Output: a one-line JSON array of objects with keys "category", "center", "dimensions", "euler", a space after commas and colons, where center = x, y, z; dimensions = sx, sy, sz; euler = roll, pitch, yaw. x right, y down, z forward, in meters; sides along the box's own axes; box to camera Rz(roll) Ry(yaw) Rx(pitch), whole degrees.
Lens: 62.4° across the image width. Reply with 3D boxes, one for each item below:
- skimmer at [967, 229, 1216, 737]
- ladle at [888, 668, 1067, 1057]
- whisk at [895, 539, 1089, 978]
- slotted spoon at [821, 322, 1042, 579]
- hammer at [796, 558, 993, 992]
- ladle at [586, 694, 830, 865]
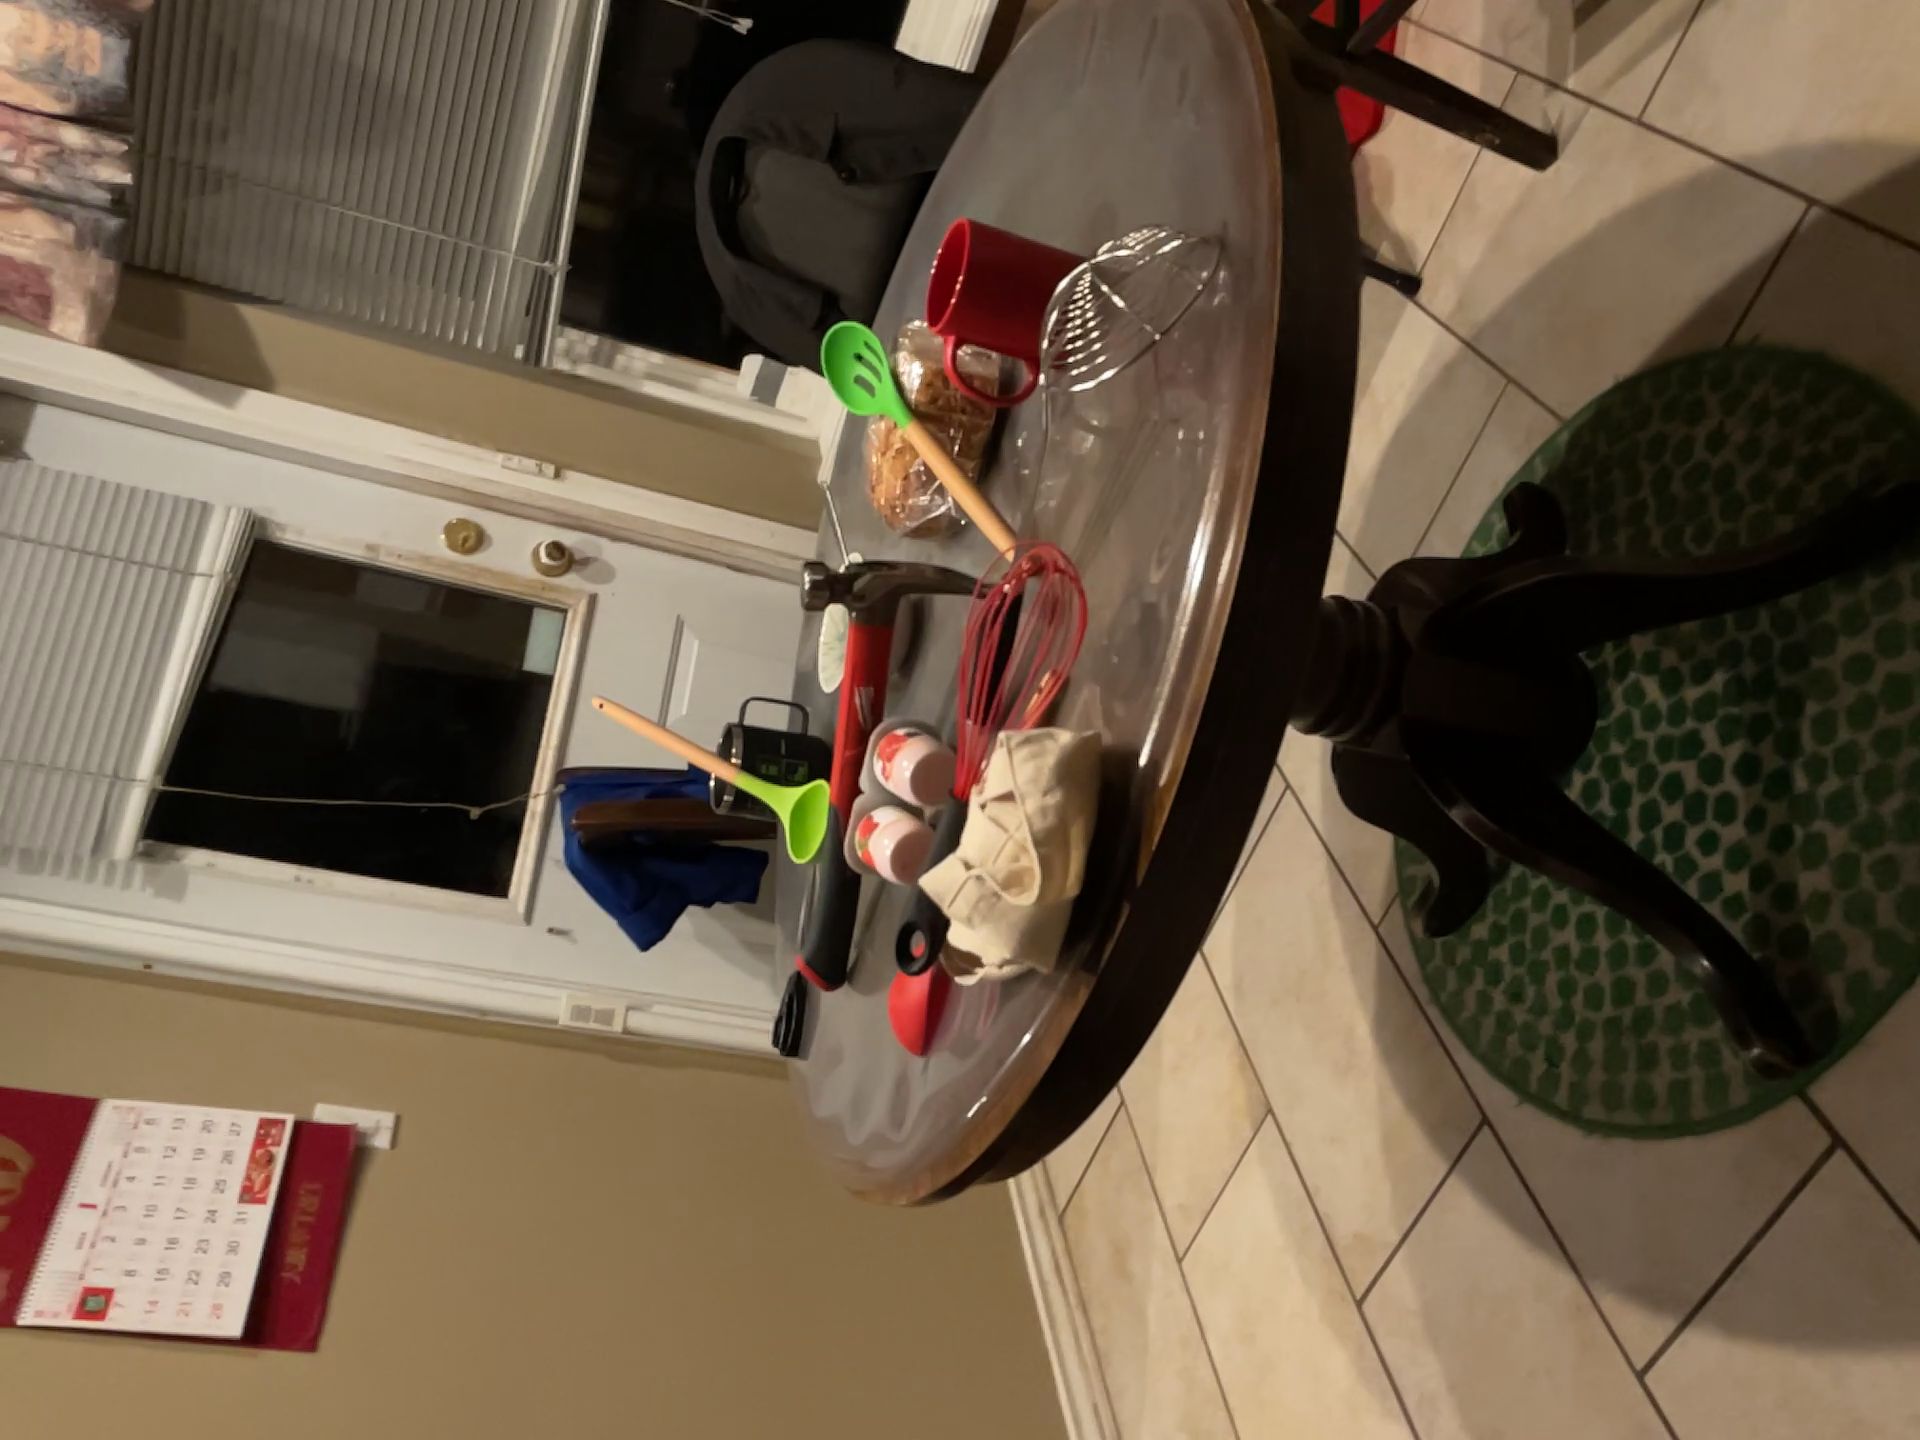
[{"category": "skimmer", "center": [0.075, -0.136, 1.021], "dimensions": [0.127, 0.090, 0.363], "euler": [-92, 11, -55]}, {"category": "ladle", "center": [0.008, 0.101, 1.078], "dimensions": [0.069, 0.031, 0.315], "euler": [-112, 40, -57]}, {"category": "whisk", "center": [0.011, 0.030, 0.957], "dimensions": [0.073, 0.073, 0.295], "euler": [-120, 45, -61]}, {"category": "slotted spoon", "center": [-0.023, -0.202, 1.187], "dimensions": [0.314, 0.031, 0.070], "euler": [54, 138, 36]}, {"category": "hammer", "center": [-0.069, 0.054, 1.254], "dimensions": [0.038, 0.143, 0.386], "euler": [-108, 23, -58]}, {"category": "ladle", "center": [-0.232, 0.042, 1.465], "dimensions": [0.078, 0.320, 0.062], "euler": [-66, -24, 3]}]
